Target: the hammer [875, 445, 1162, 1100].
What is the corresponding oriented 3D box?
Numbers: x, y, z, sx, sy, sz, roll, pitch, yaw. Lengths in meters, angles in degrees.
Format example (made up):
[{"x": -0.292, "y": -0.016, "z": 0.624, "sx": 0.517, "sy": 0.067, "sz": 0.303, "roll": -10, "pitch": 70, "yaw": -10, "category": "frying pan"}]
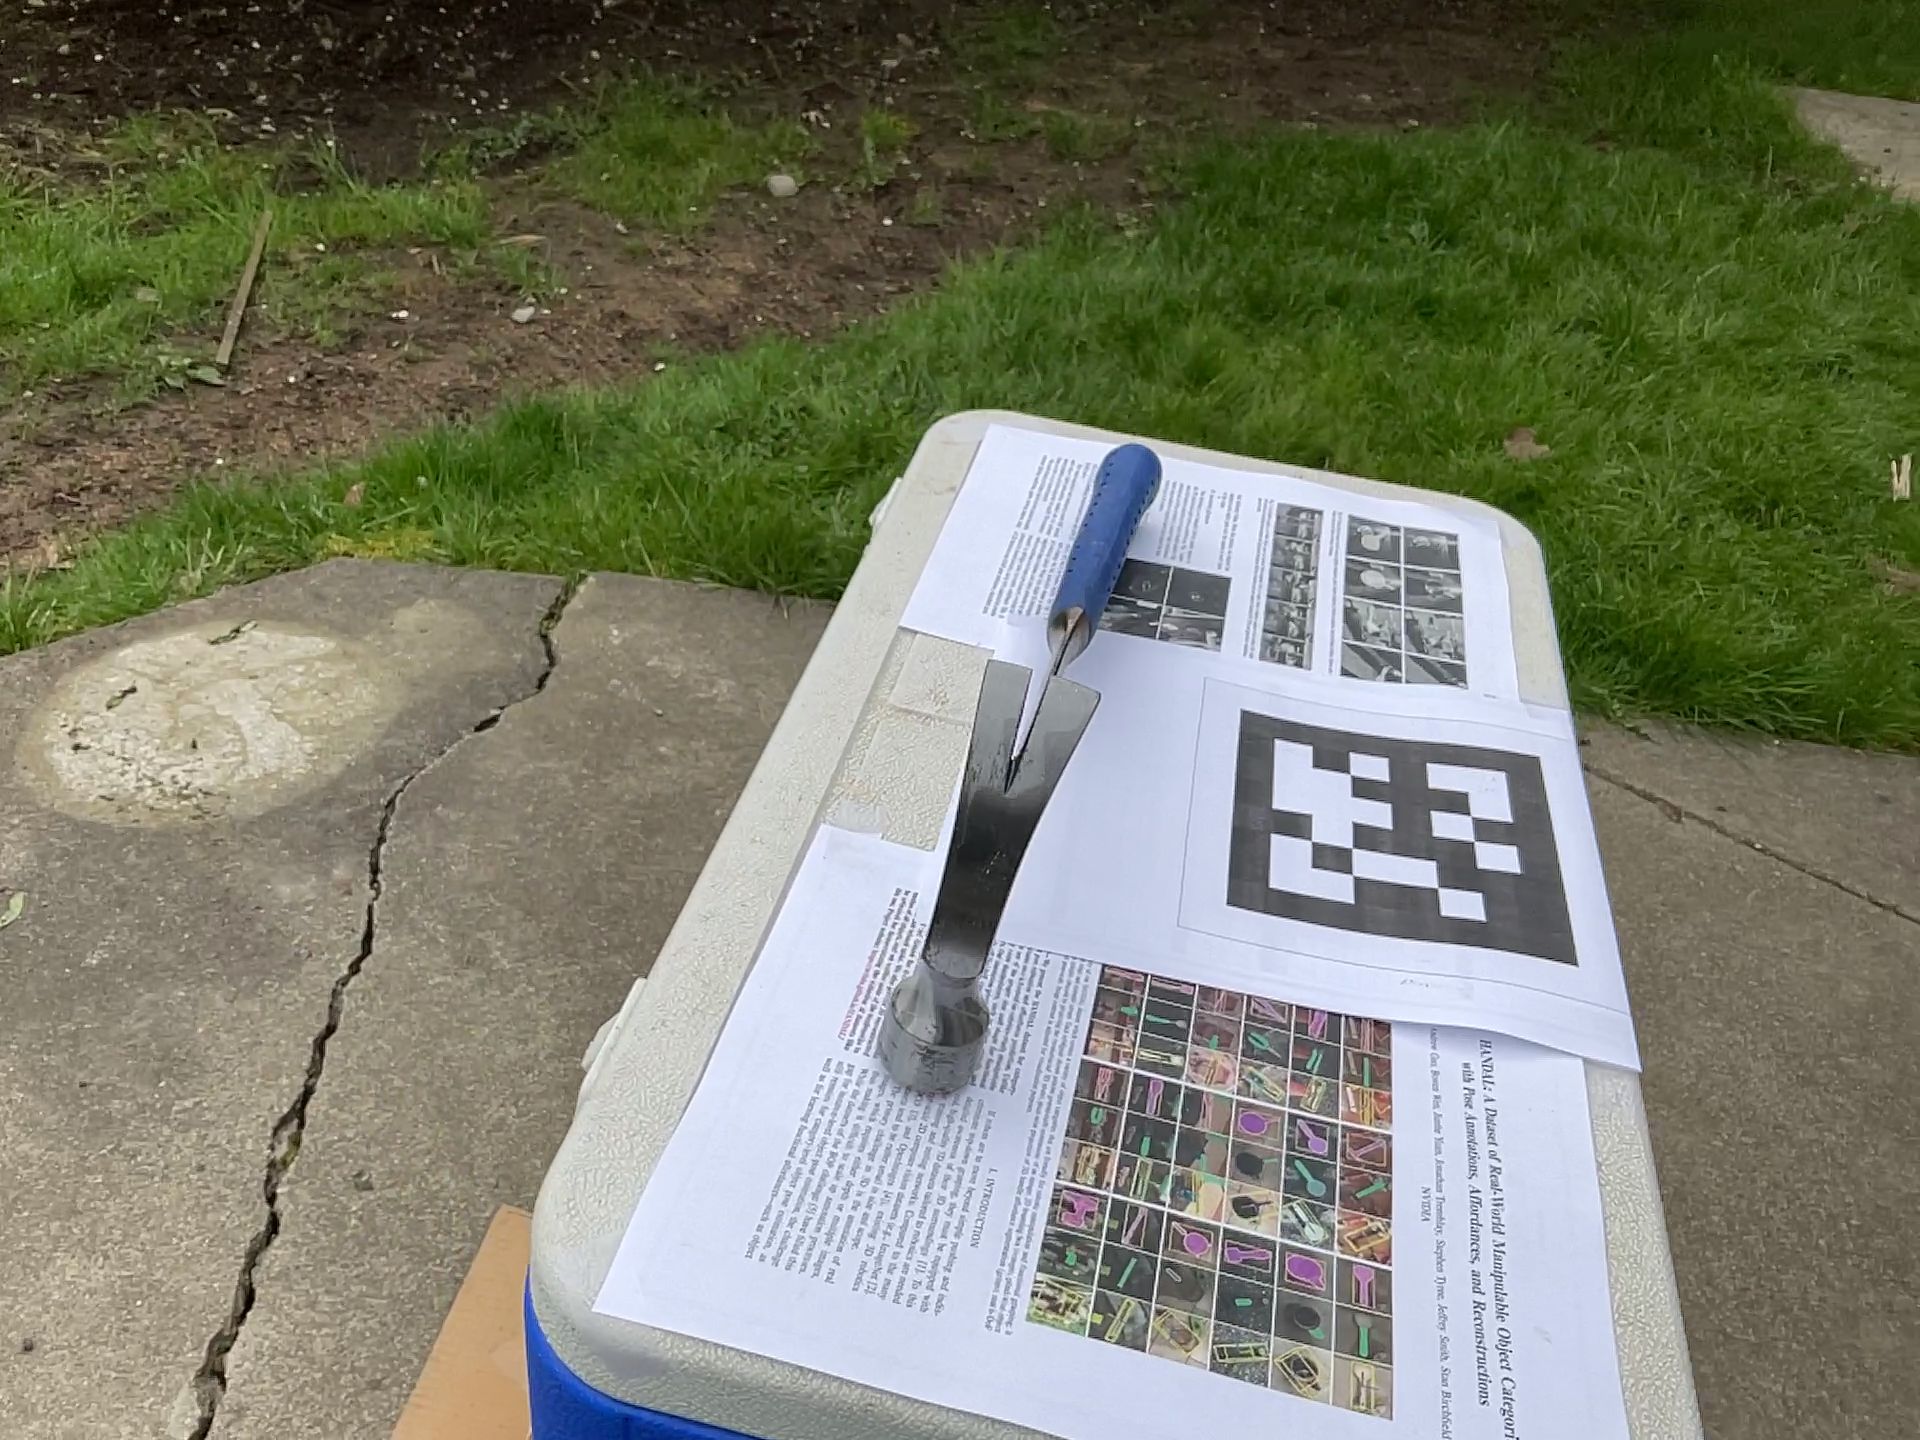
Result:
[{"x": 0.044, "y": -0.033, "z": 0.642, "sx": 0.035, "sy": 0.144, "sz": 0.405, "roll": 18, "pitch": 31, "yaw": 4, "category": "hammer"}]
